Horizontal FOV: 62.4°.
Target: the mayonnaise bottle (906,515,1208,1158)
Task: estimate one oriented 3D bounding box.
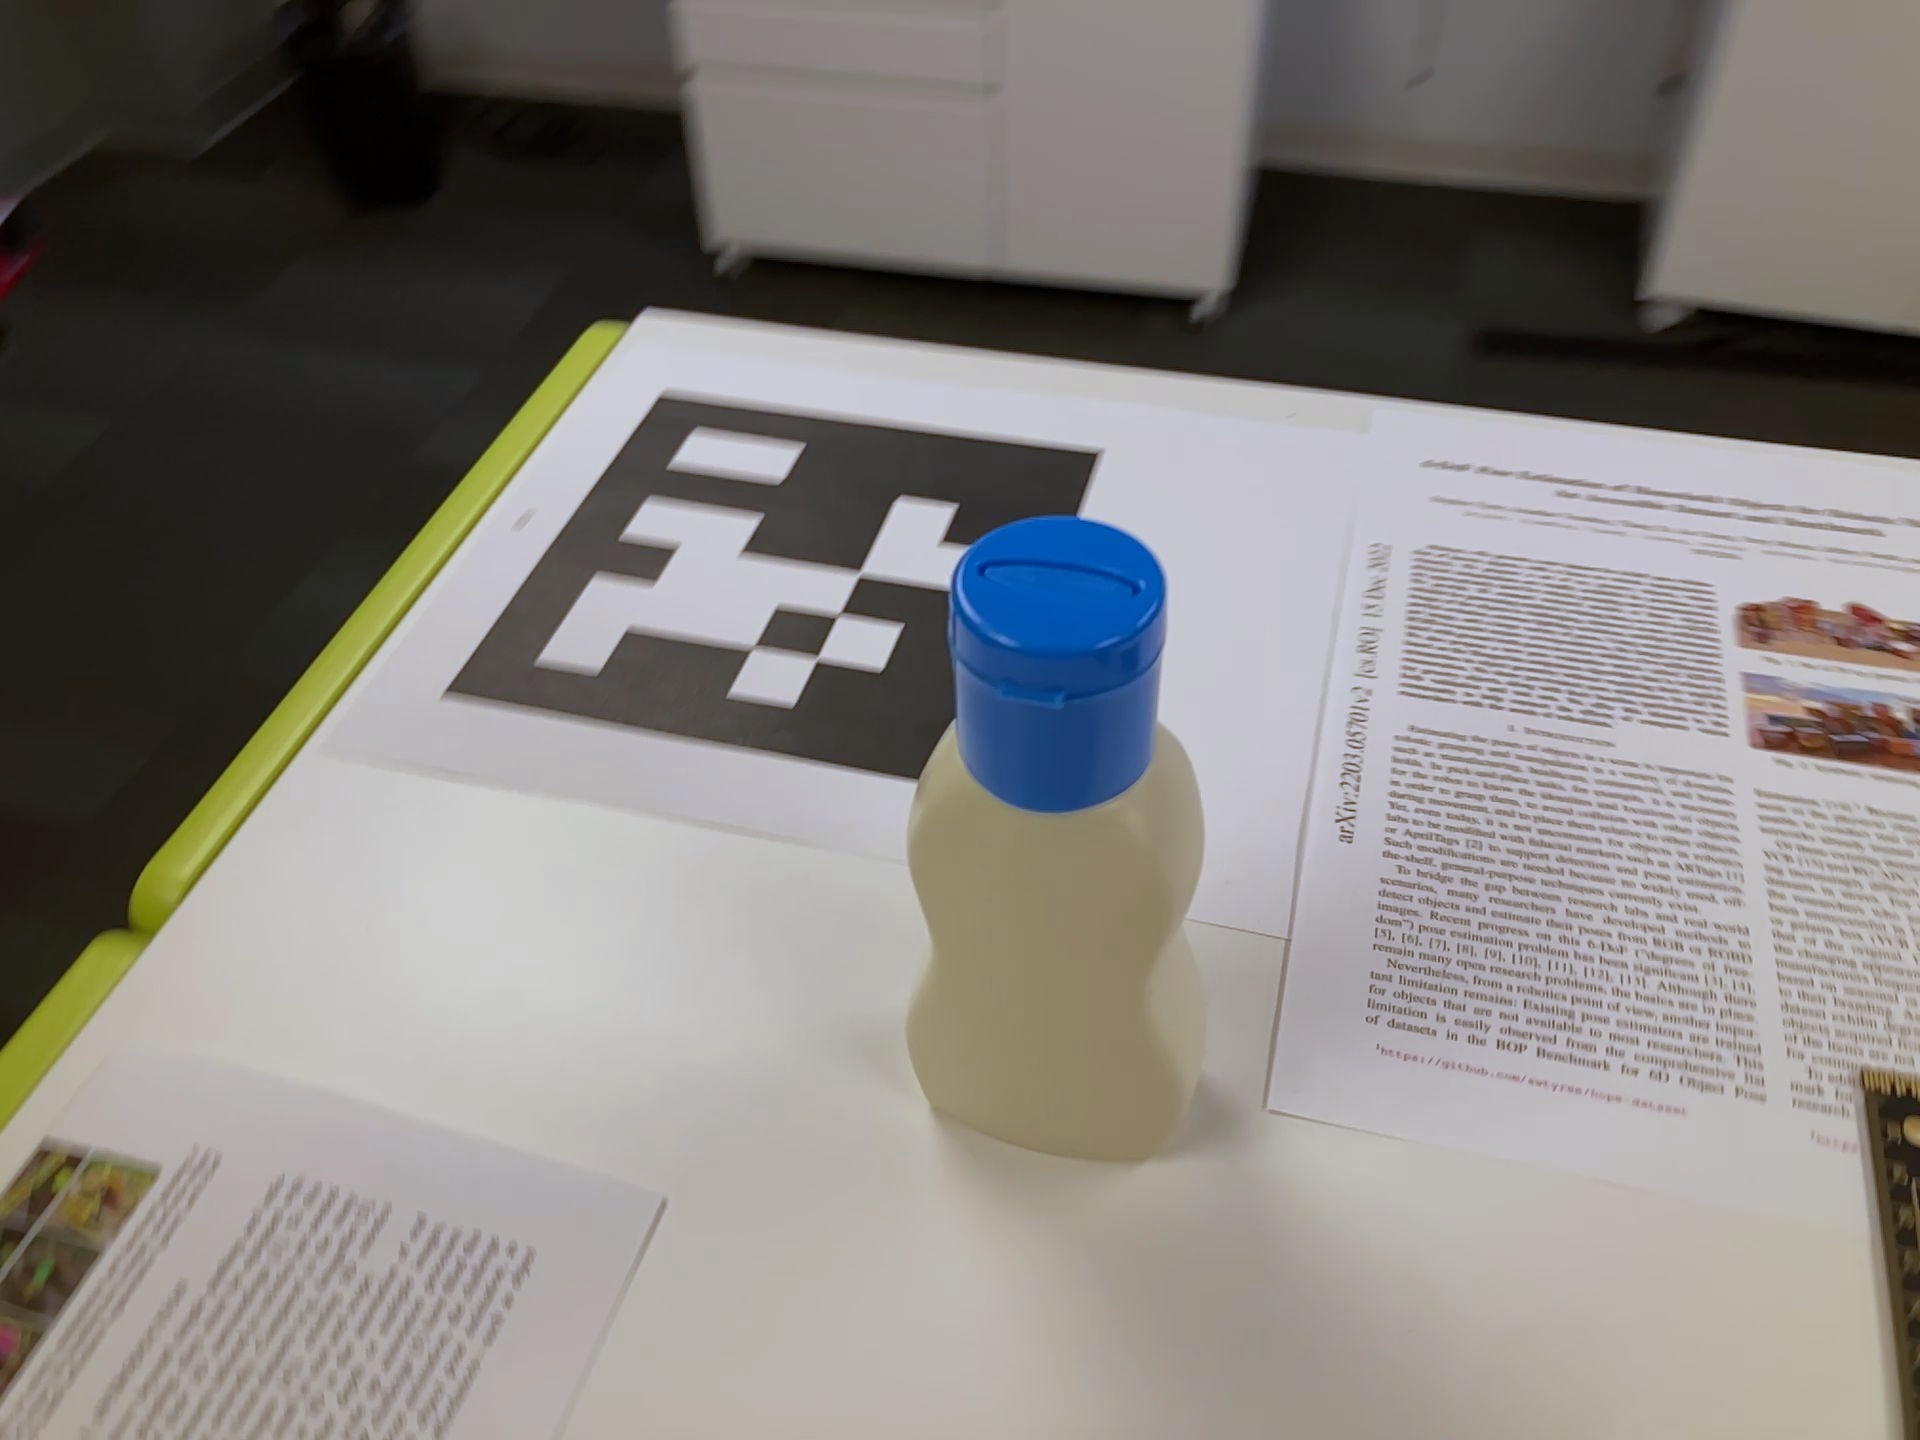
[{"bbox_3d":[0.019,0.029,0.310,0.065,0.148,0.041,10,45,12],"label":"mayonnaise bottle"}]
